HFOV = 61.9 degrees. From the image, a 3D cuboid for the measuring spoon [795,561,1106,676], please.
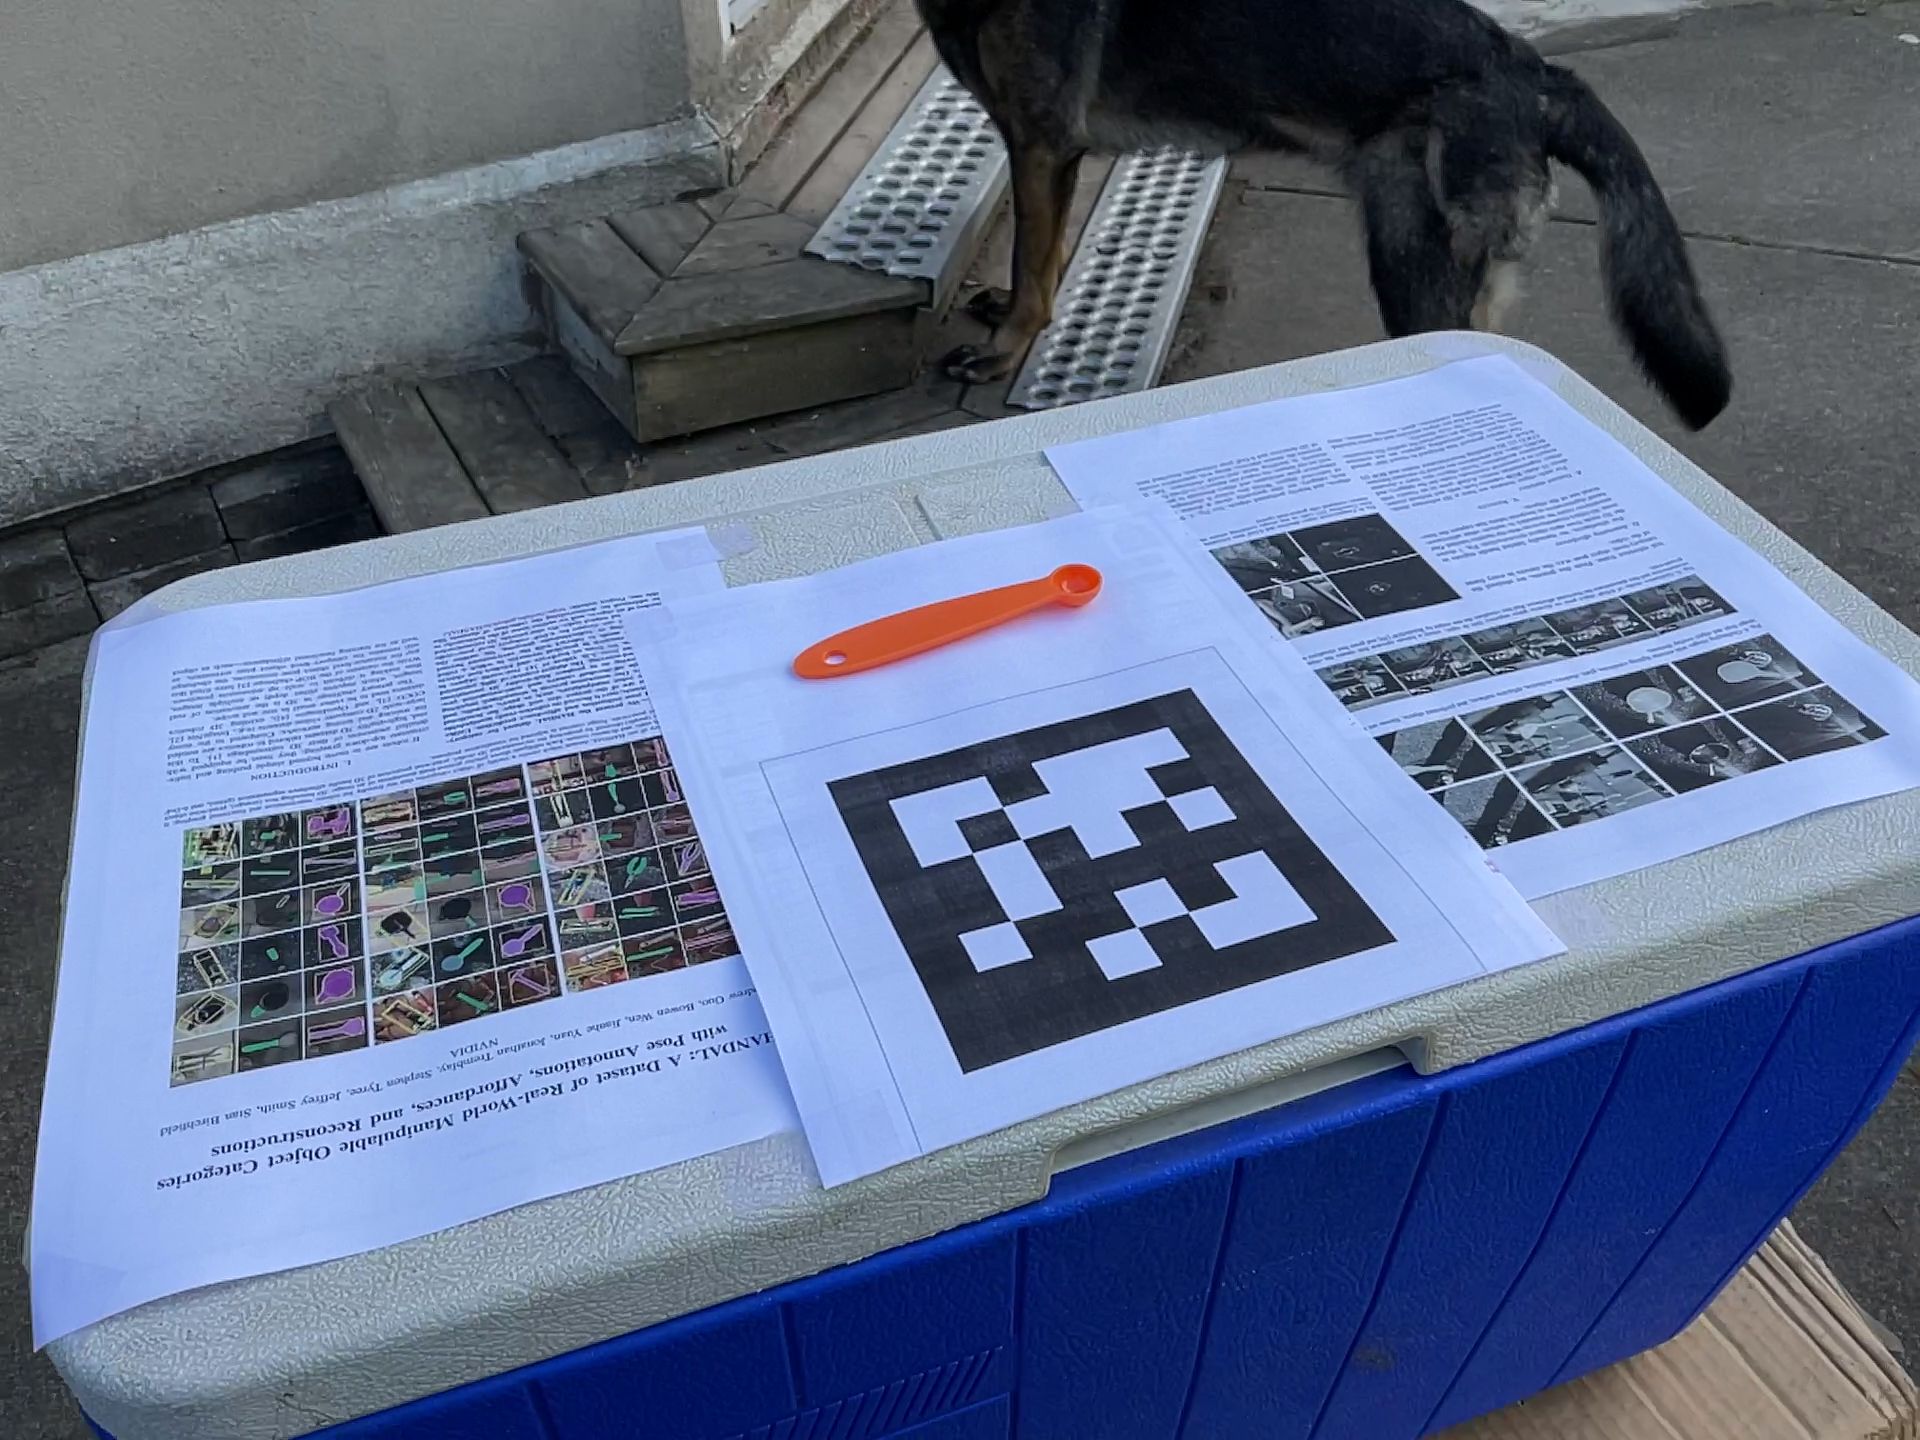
[{"bbox_3d":[-0.002,-0.033,0.566,0.117,0.011,0.021,-18,43,-13],"label":"measuring spoon"}]
